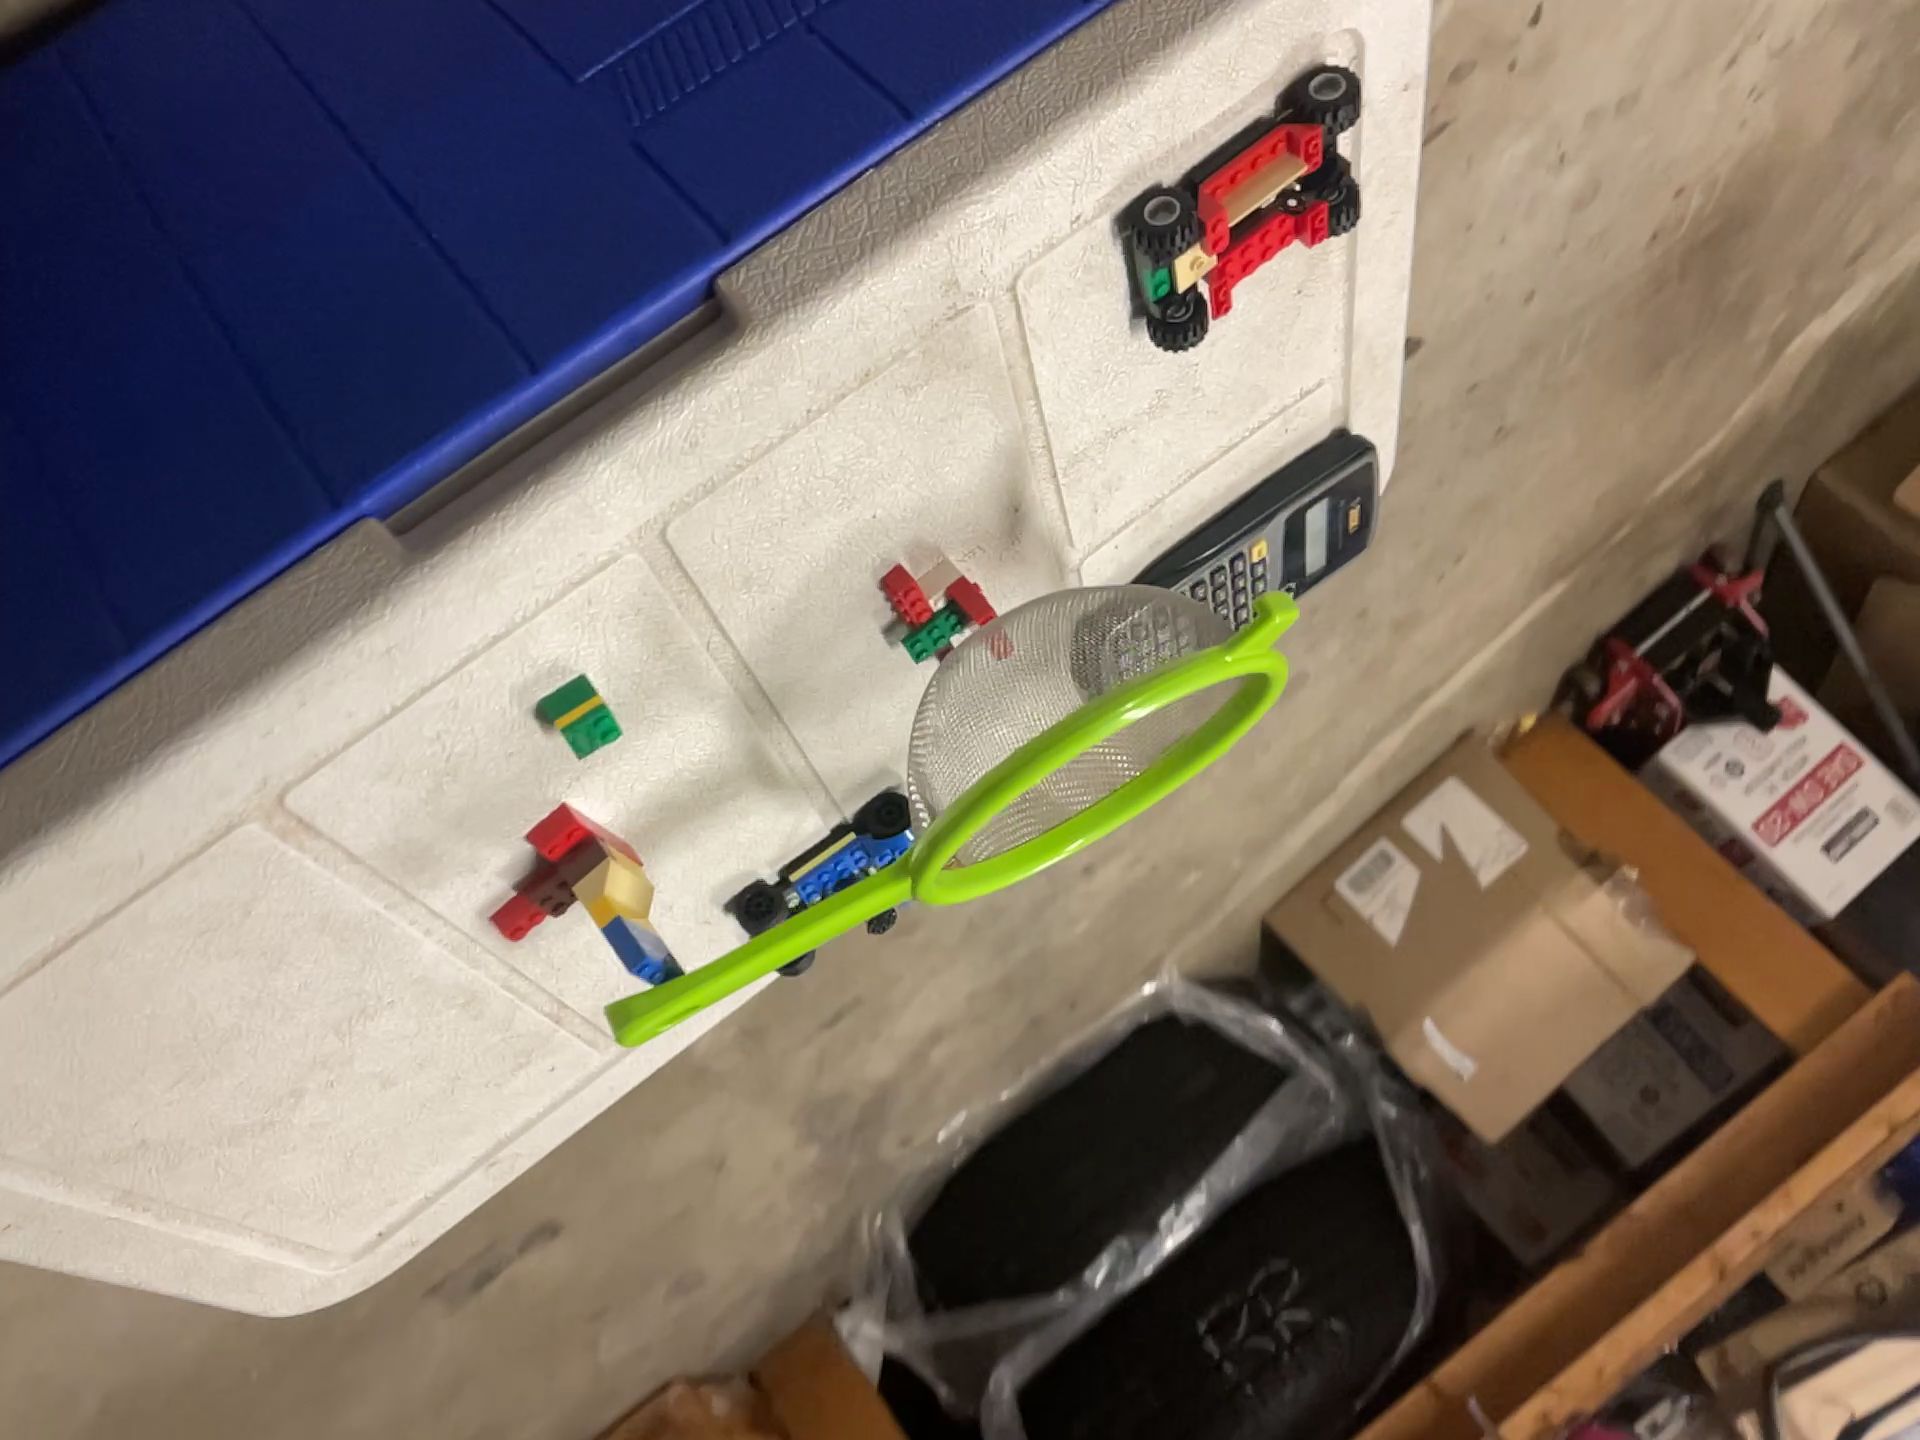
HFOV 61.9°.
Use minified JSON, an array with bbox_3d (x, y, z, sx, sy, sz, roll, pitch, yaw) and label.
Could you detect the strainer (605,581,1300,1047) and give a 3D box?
[{"bbox_3d":[-0.012,0.023,0.548,0.256,0.069,0.151,-28,164,-9],"label":"strainer"}]
